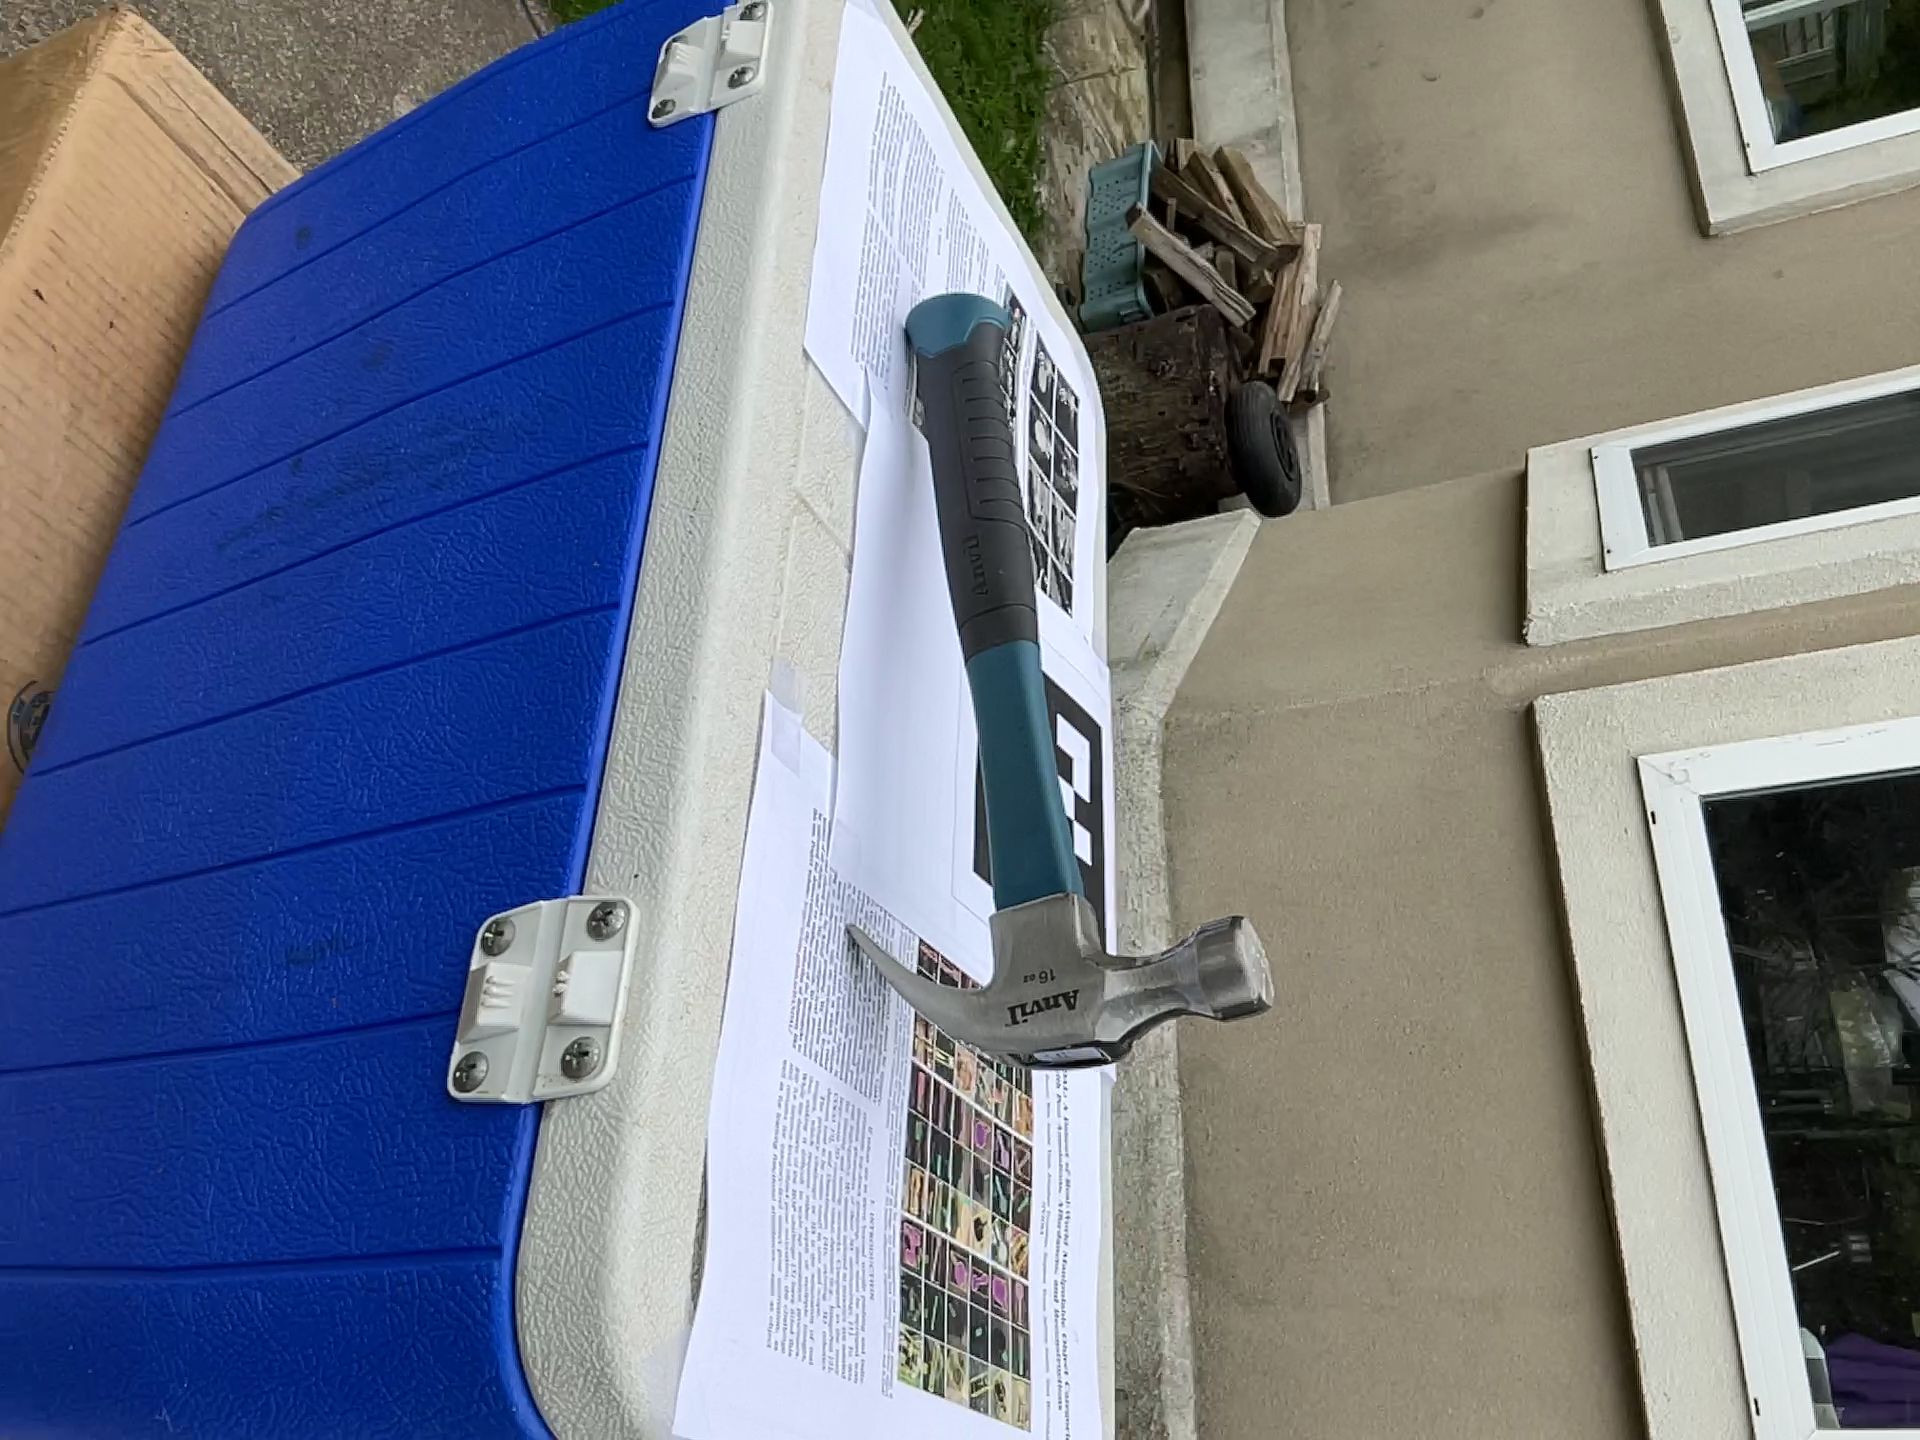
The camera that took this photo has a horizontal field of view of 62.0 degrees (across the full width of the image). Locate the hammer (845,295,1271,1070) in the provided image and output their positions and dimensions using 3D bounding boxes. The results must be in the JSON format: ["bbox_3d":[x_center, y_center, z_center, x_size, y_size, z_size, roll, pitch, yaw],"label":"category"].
[{"bbox_3d":[0.014,-0.033,0.576,0.033,0.128,0.331,48,28,-51],"label":"hammer"}]
